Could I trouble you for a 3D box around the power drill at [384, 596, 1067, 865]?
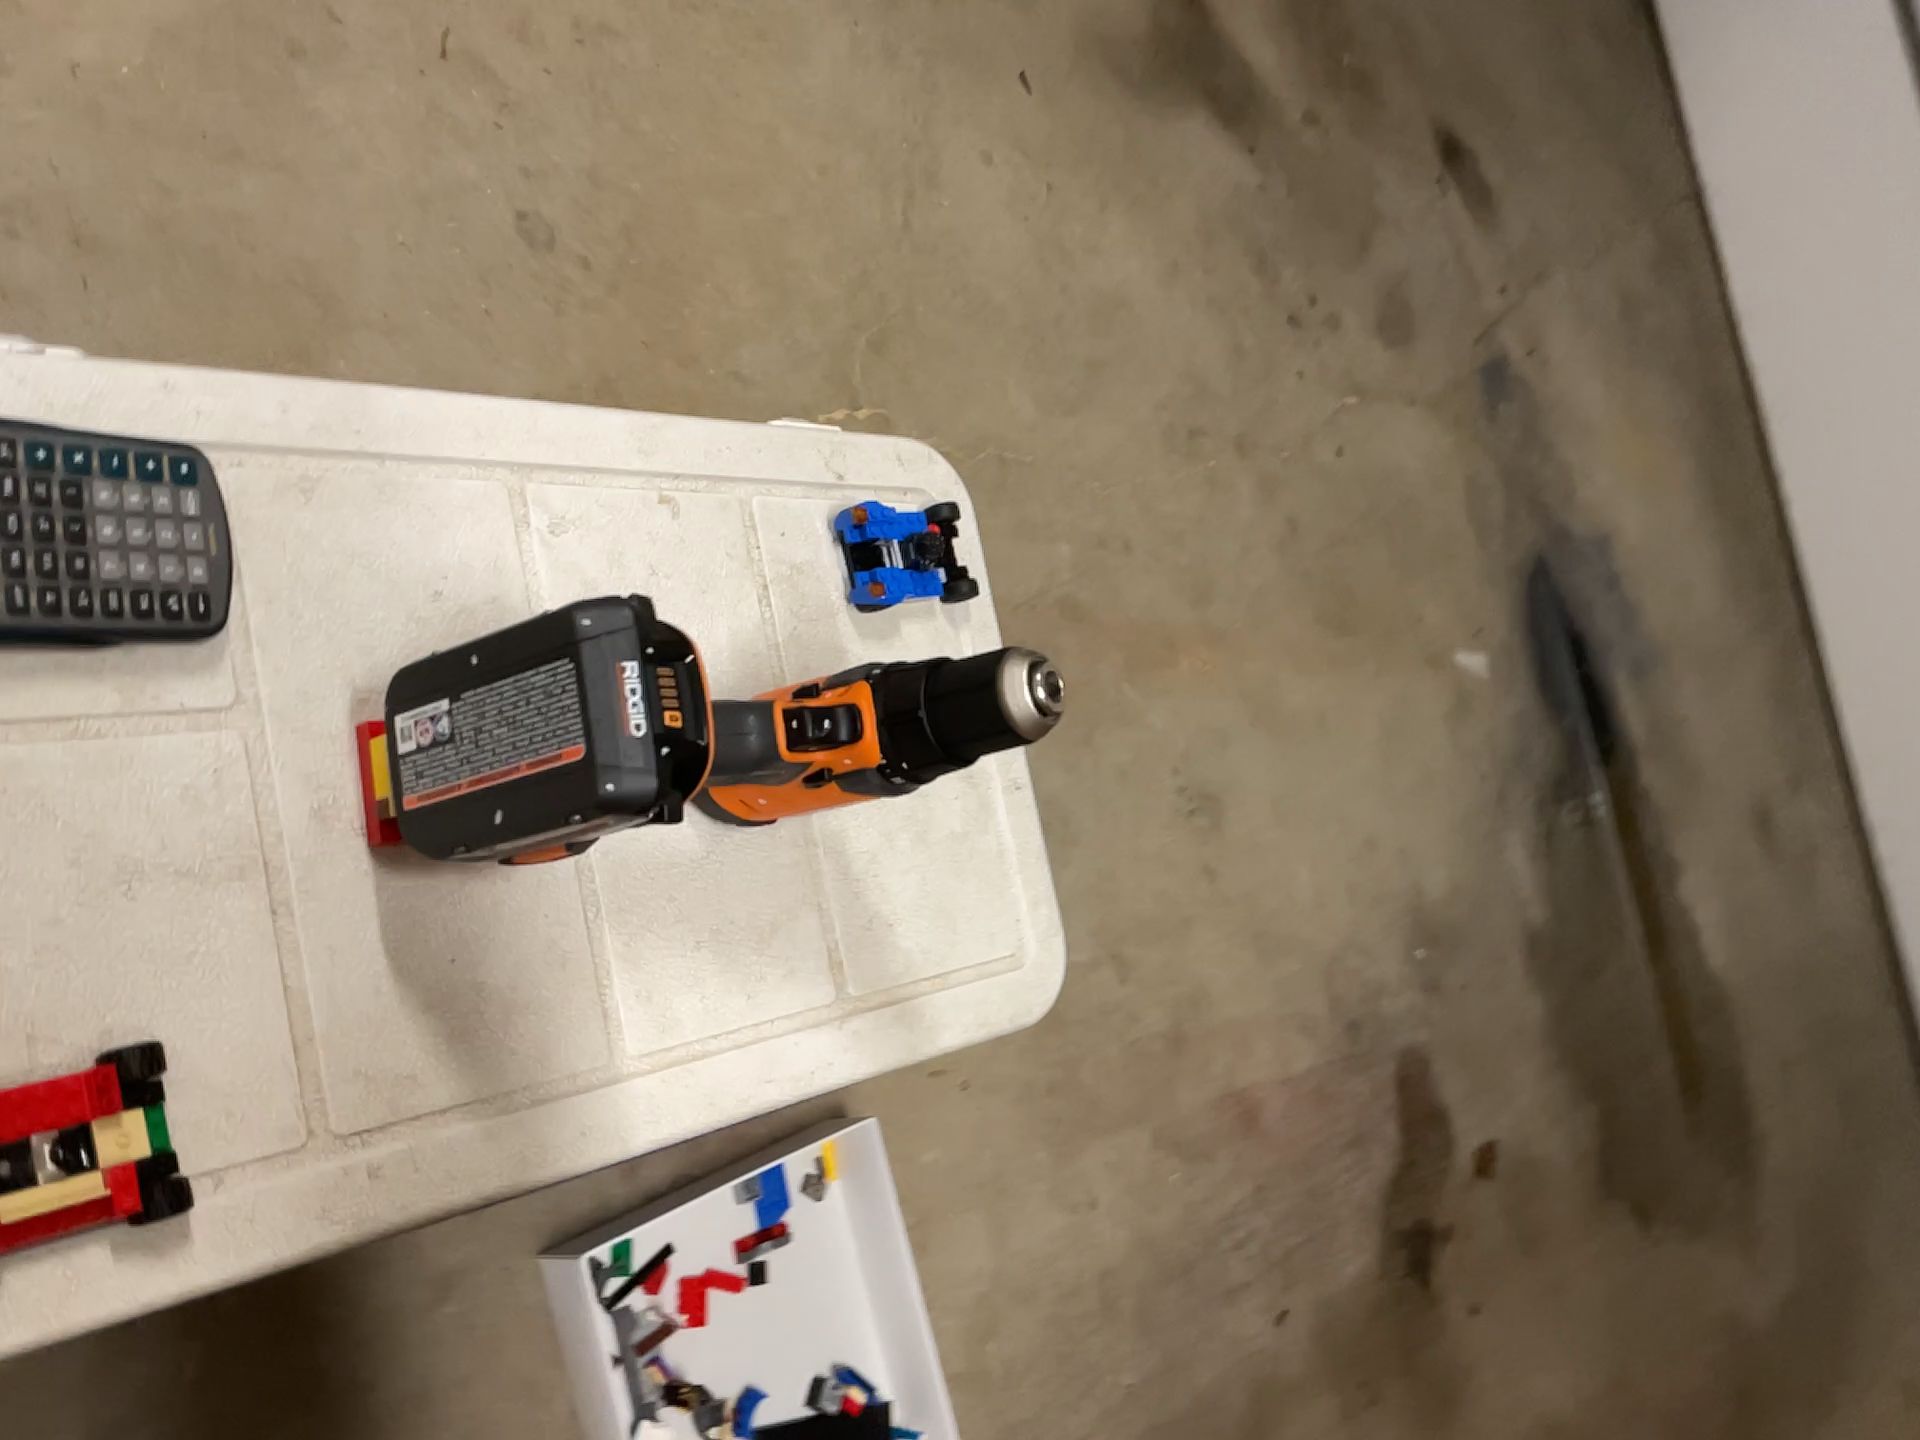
[{"bbox_3d":[-0.082,0.003,0.632,0.226,0.185,0.084,3,76,-56],"label":"power drill"}]
